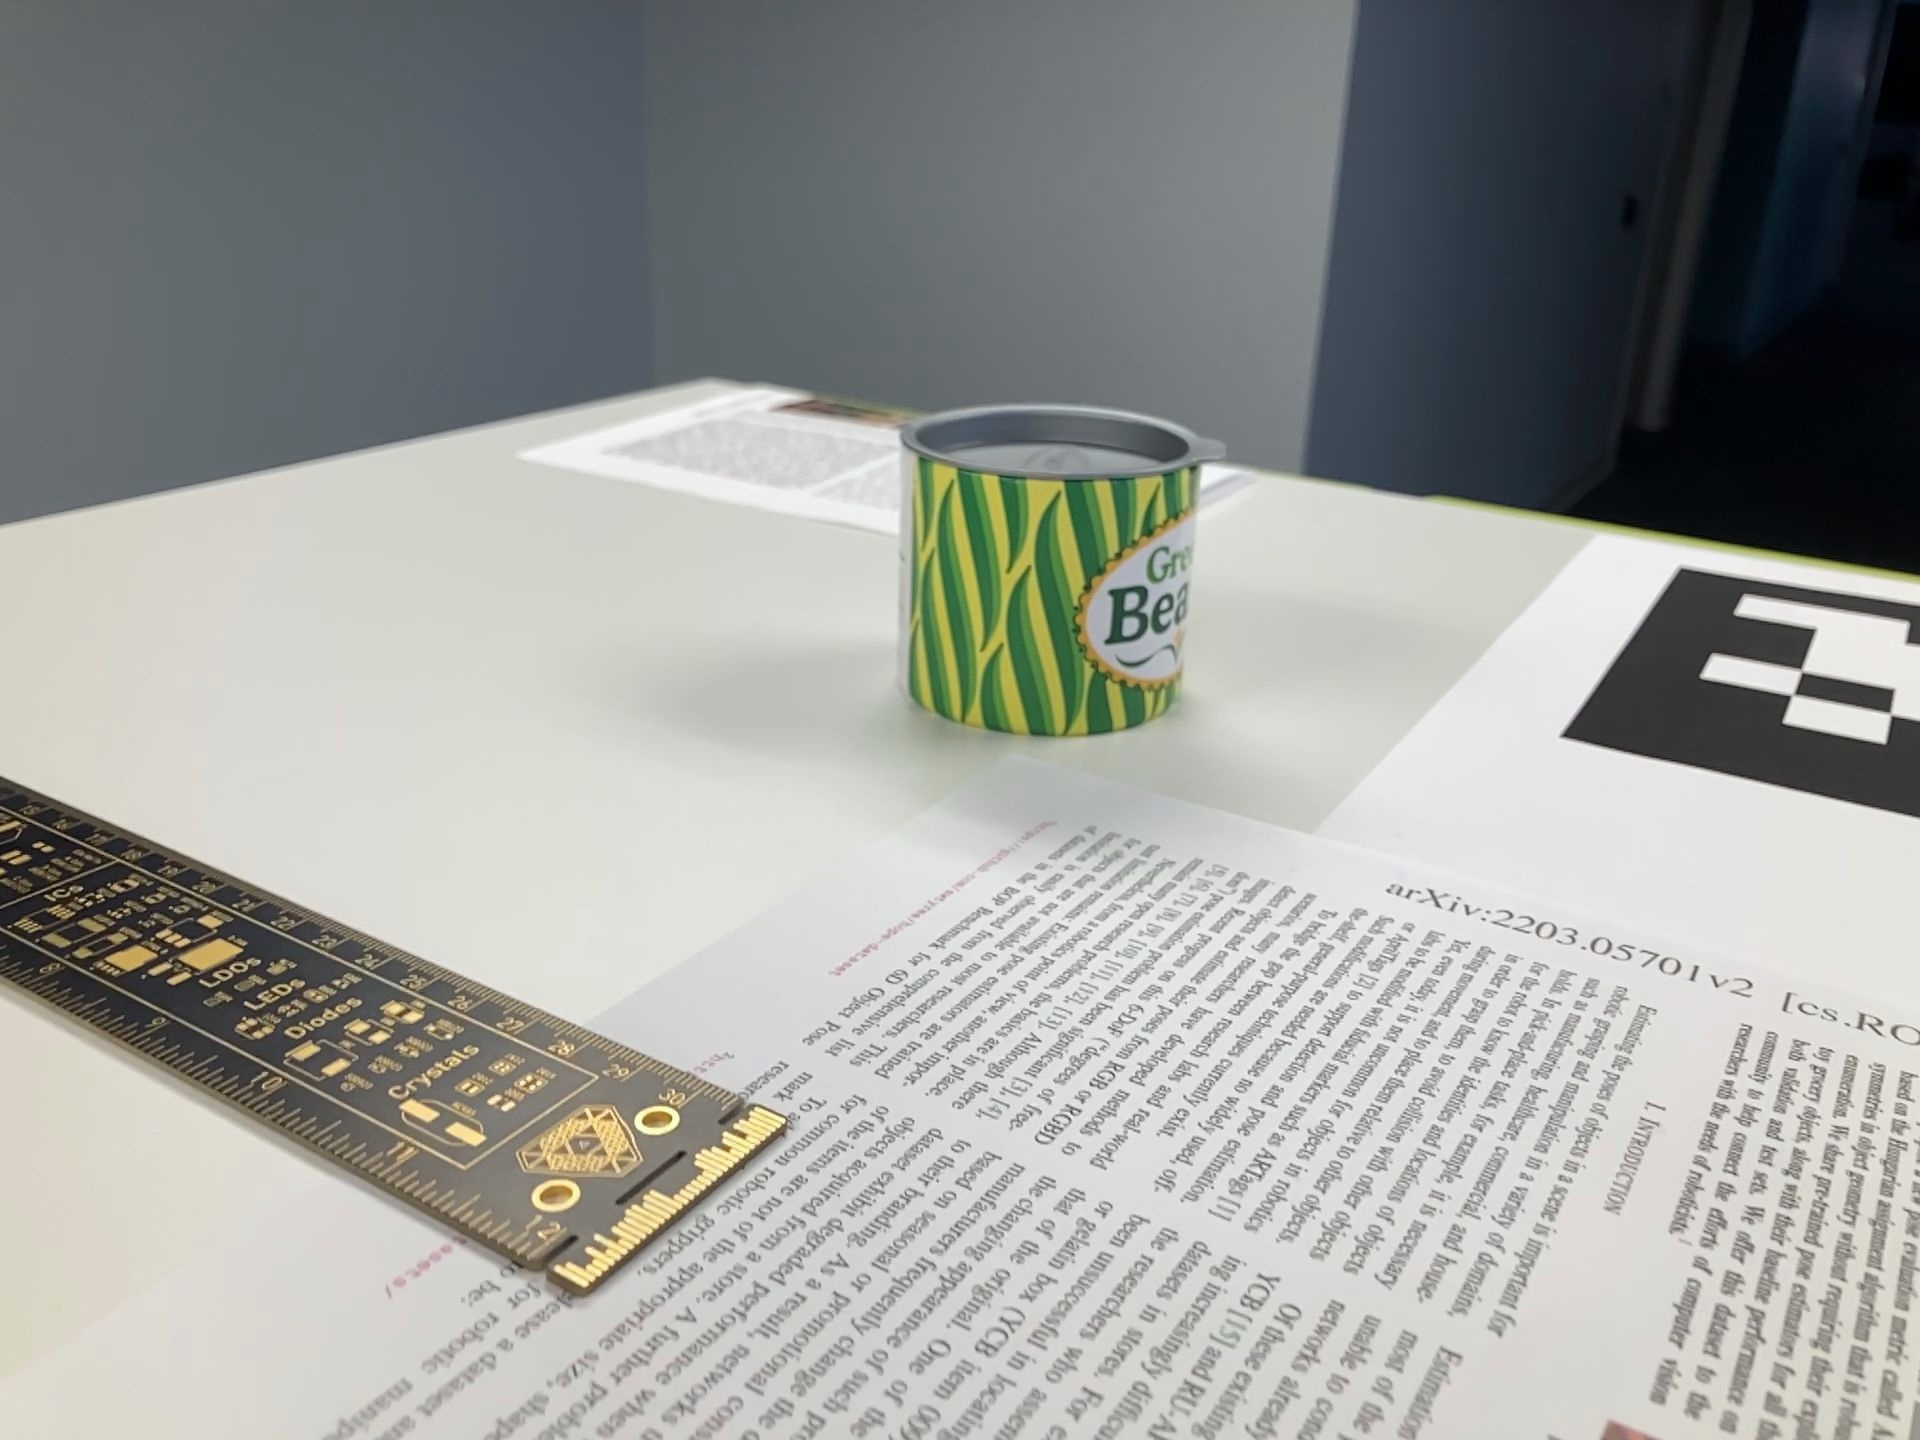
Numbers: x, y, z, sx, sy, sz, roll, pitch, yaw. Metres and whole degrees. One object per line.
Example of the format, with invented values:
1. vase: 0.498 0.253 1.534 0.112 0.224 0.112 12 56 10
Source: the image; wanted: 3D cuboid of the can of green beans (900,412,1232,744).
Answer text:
1. can of green beans: 0.020 -0.033 0.357 0.071 0.058 0.071 1 22 -1
